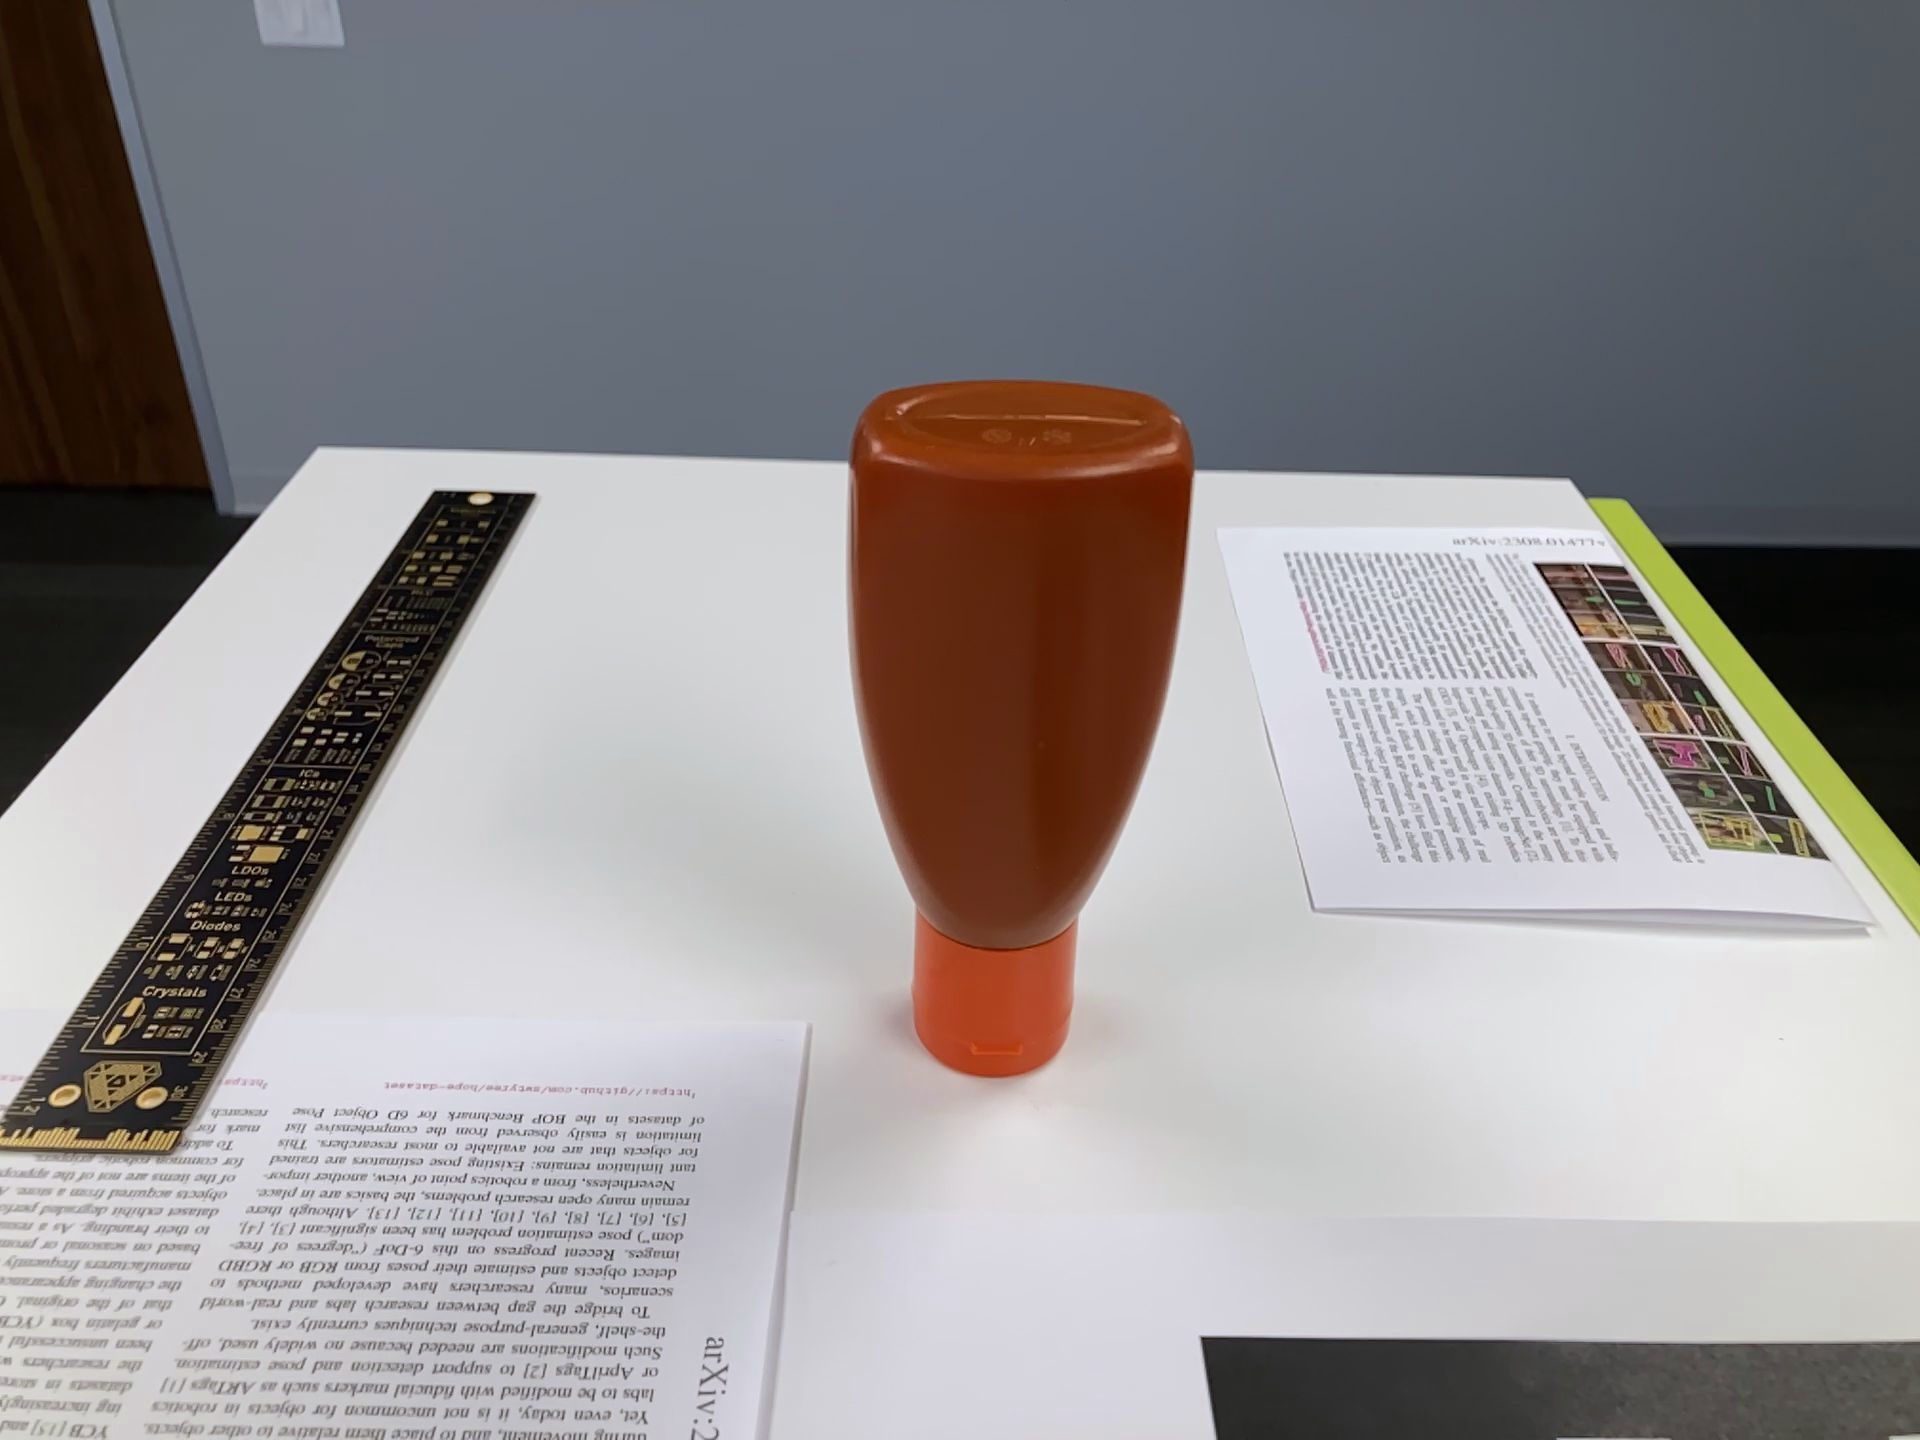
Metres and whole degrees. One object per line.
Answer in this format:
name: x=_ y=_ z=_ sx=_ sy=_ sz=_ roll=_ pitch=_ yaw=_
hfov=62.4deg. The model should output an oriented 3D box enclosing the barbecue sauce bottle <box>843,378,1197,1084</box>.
barbecue sauce bottle: x=0.009 y=0.008 z=0.322 sx=0.065 sy=0.148 sz=0.043 roll=0 pitch=32 yaw=-2
